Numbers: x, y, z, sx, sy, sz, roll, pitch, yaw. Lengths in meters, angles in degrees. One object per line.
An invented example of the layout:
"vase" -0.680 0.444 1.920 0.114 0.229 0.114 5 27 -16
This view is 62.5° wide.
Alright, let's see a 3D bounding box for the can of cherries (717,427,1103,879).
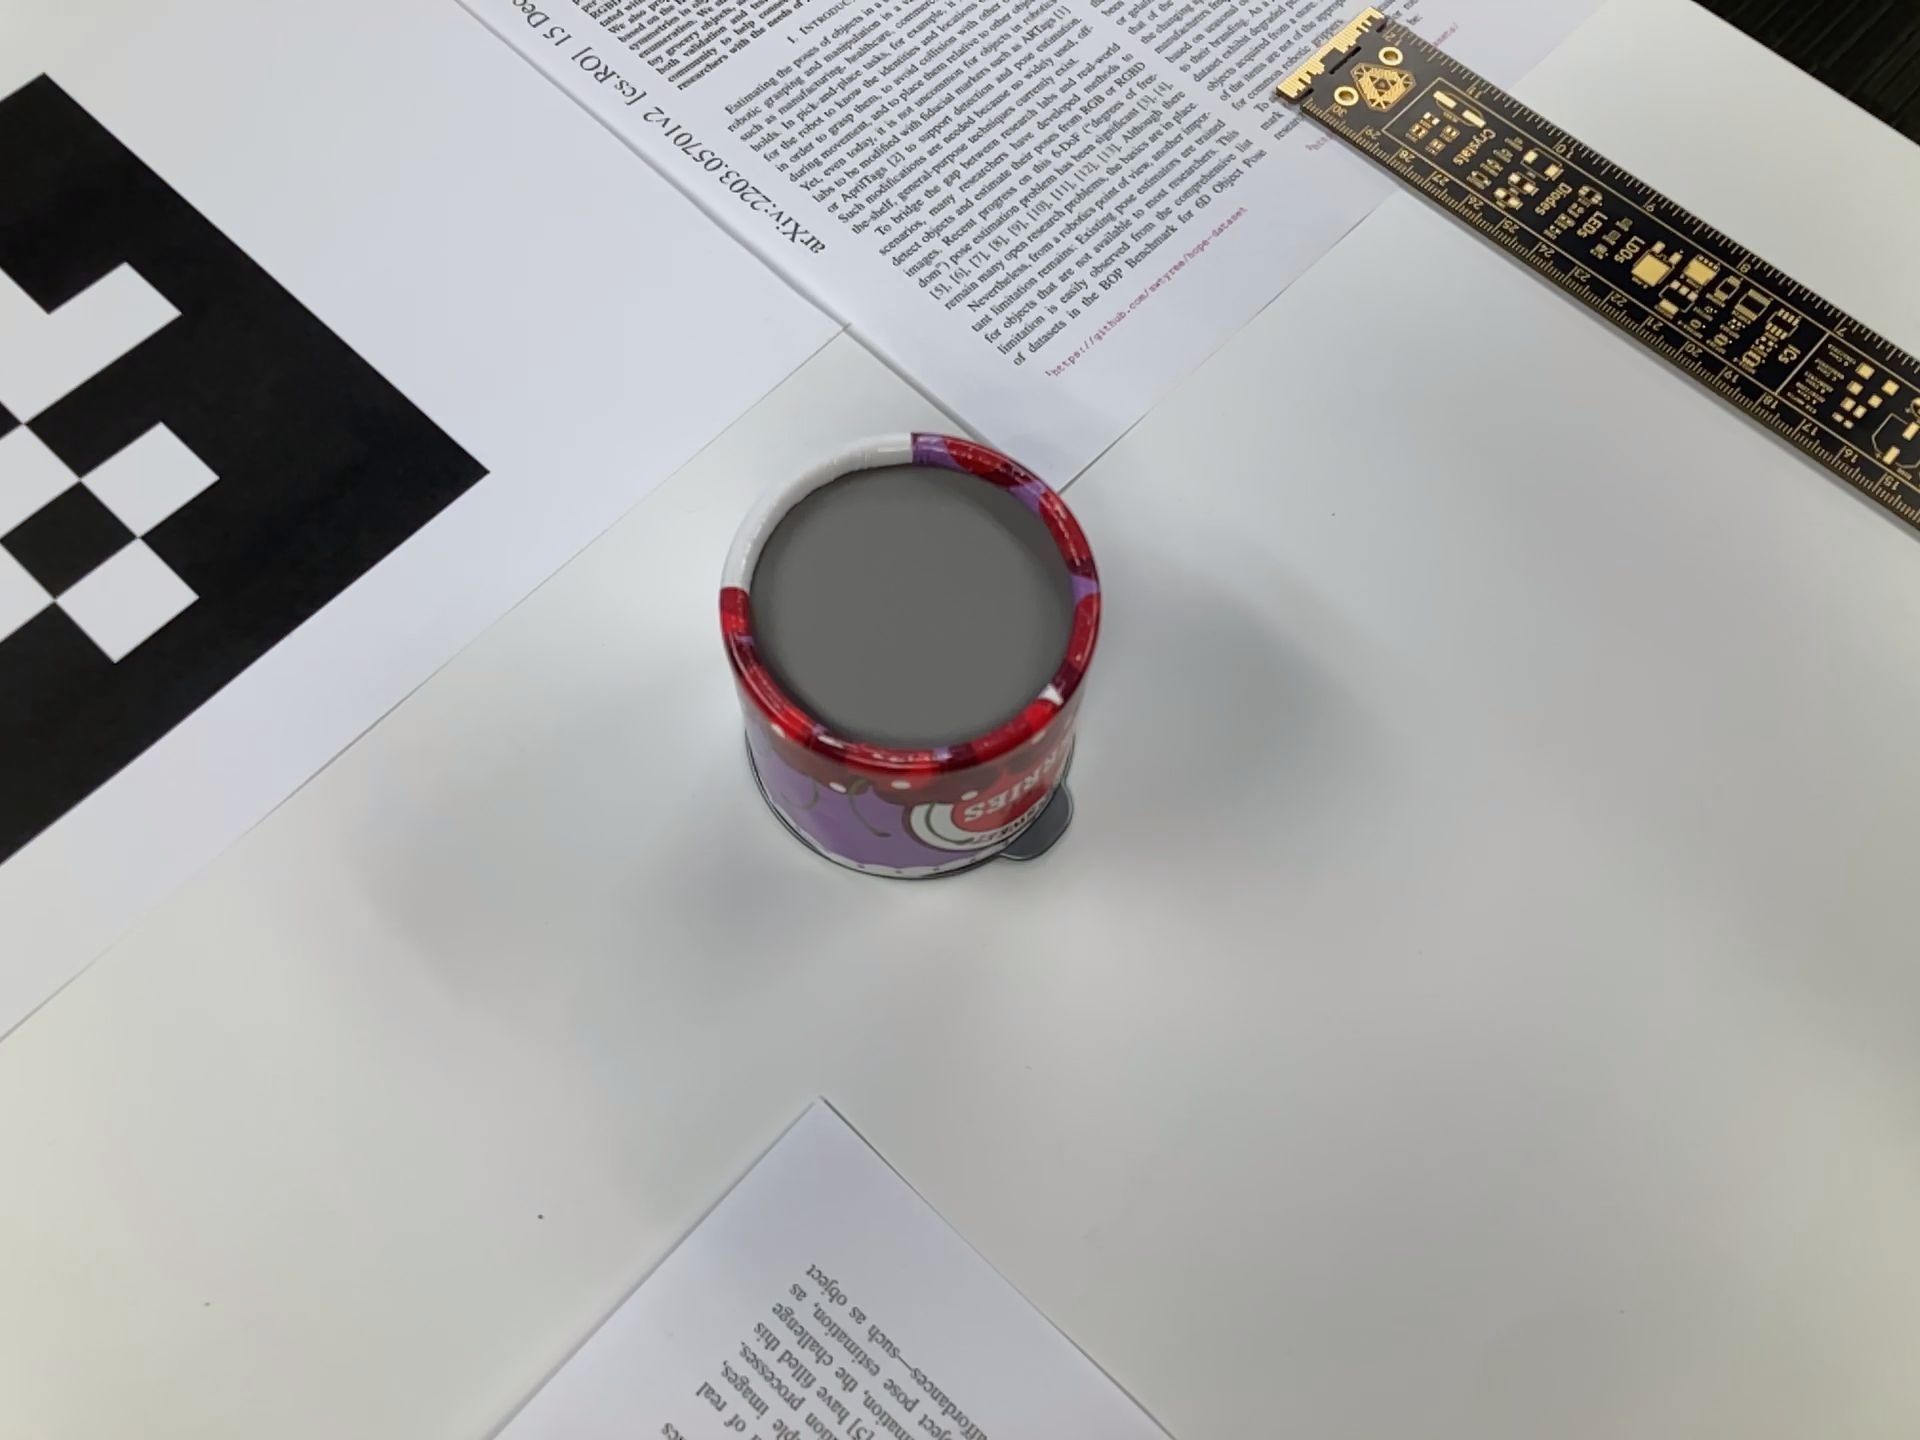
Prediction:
"can of cherries" -0.007 -0.010 0.290 0.071 0.058 0.071 1 66 -2
